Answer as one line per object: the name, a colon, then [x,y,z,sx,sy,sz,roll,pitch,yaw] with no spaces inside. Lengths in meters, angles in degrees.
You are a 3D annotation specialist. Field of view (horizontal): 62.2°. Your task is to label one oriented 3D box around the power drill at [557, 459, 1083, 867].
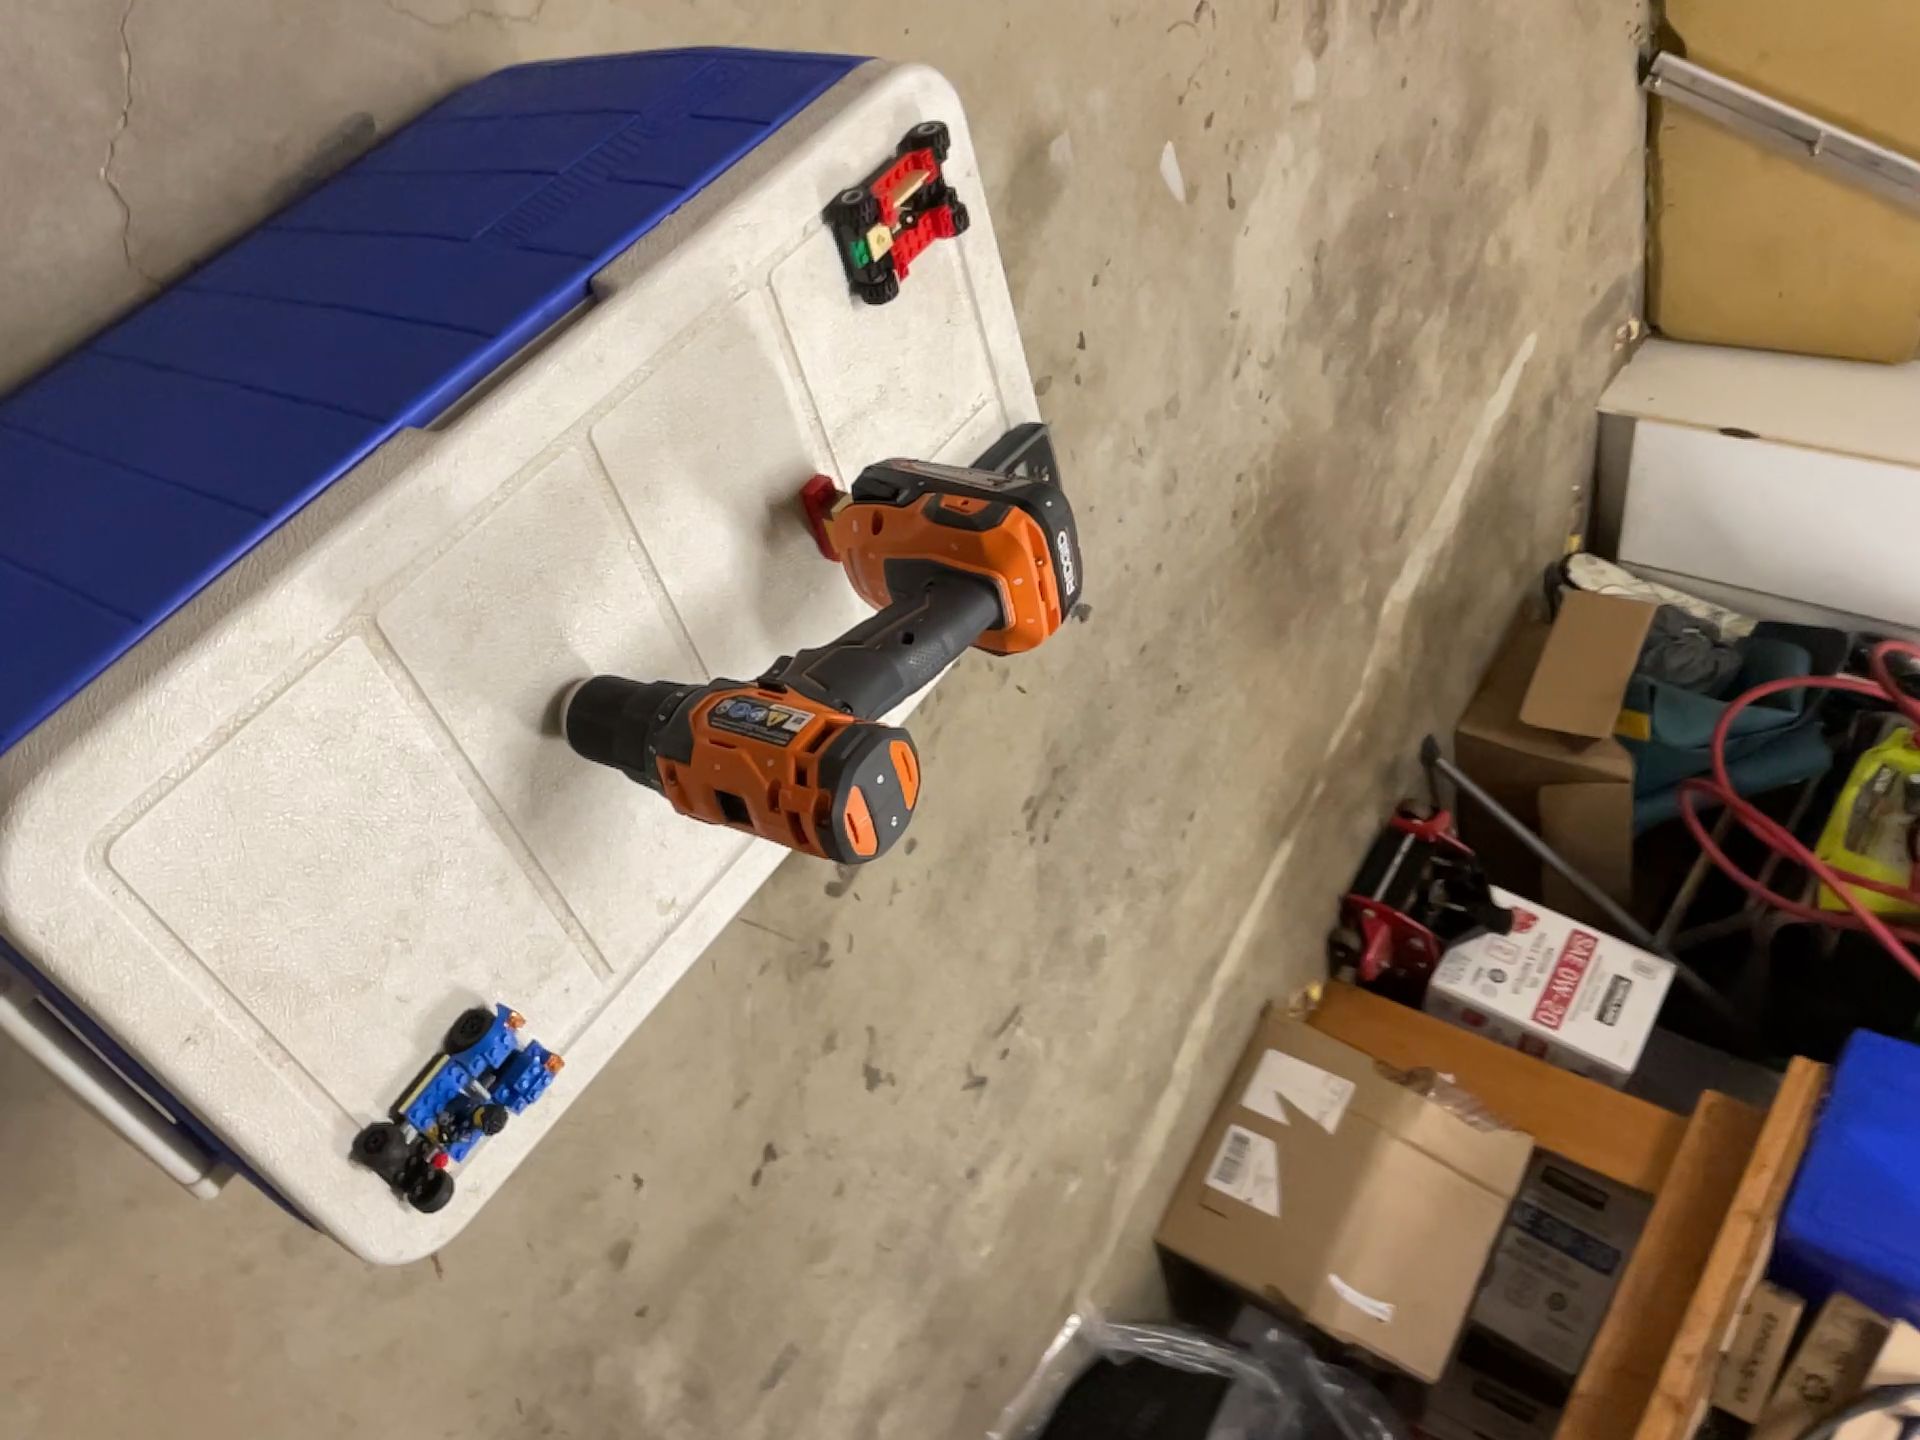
power drill: [-0.066,-0.034,0.759,0.226,0.185,0.084,-50,140,-36]
